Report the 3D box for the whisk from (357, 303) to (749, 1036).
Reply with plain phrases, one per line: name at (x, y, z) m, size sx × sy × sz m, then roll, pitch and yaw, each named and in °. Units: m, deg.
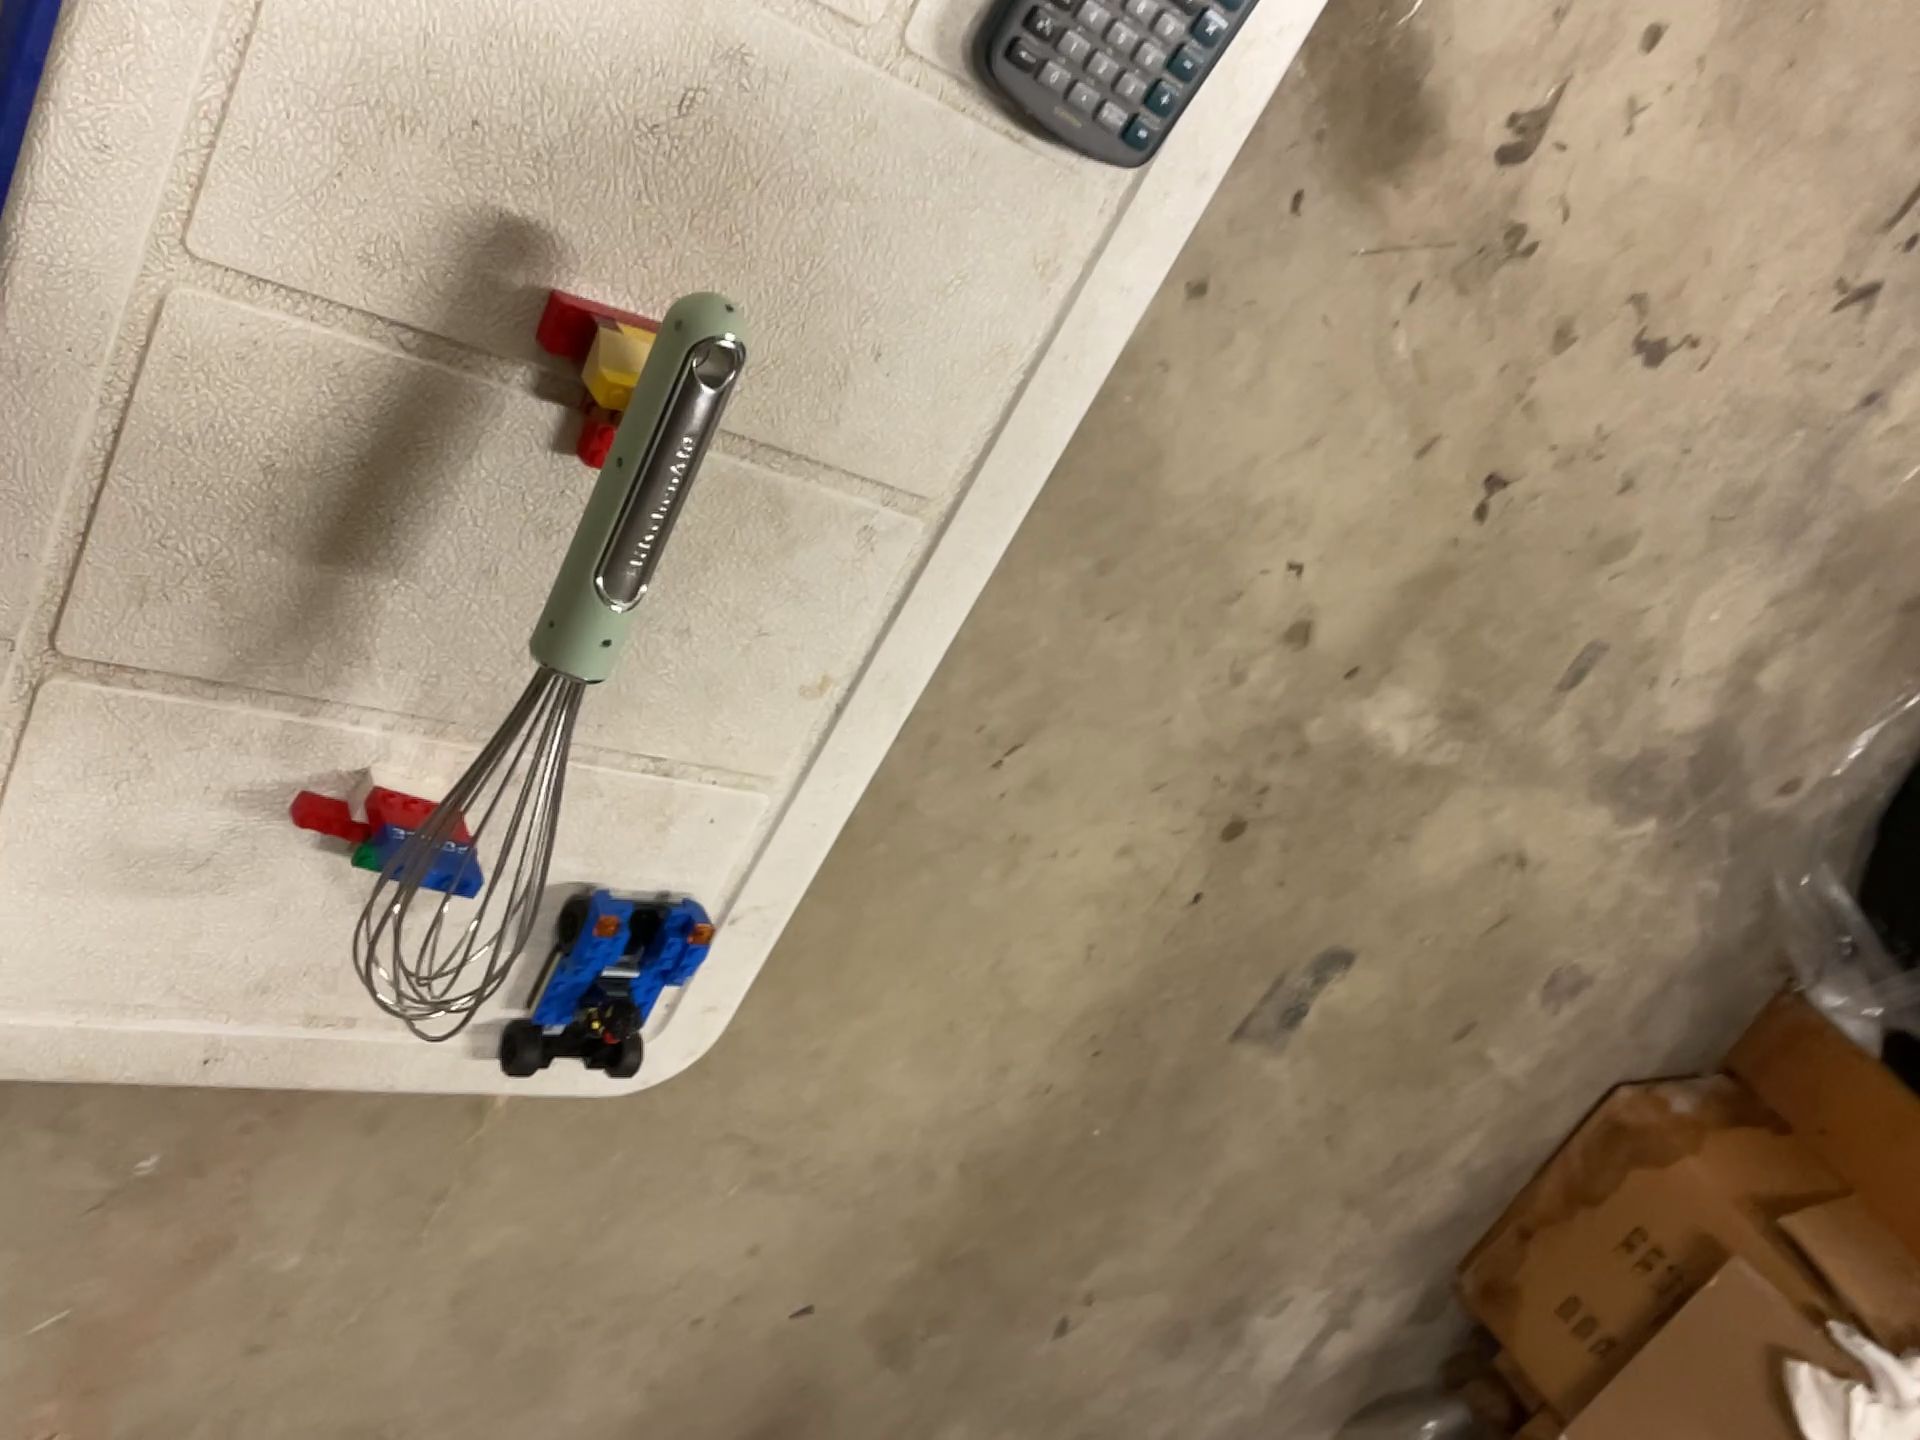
whisk at (-0.120, -0.010, 0.481) m, size 0.058 × 0.059 × 0.246 m, roll 11°, pitch 113°, yaw -45°
